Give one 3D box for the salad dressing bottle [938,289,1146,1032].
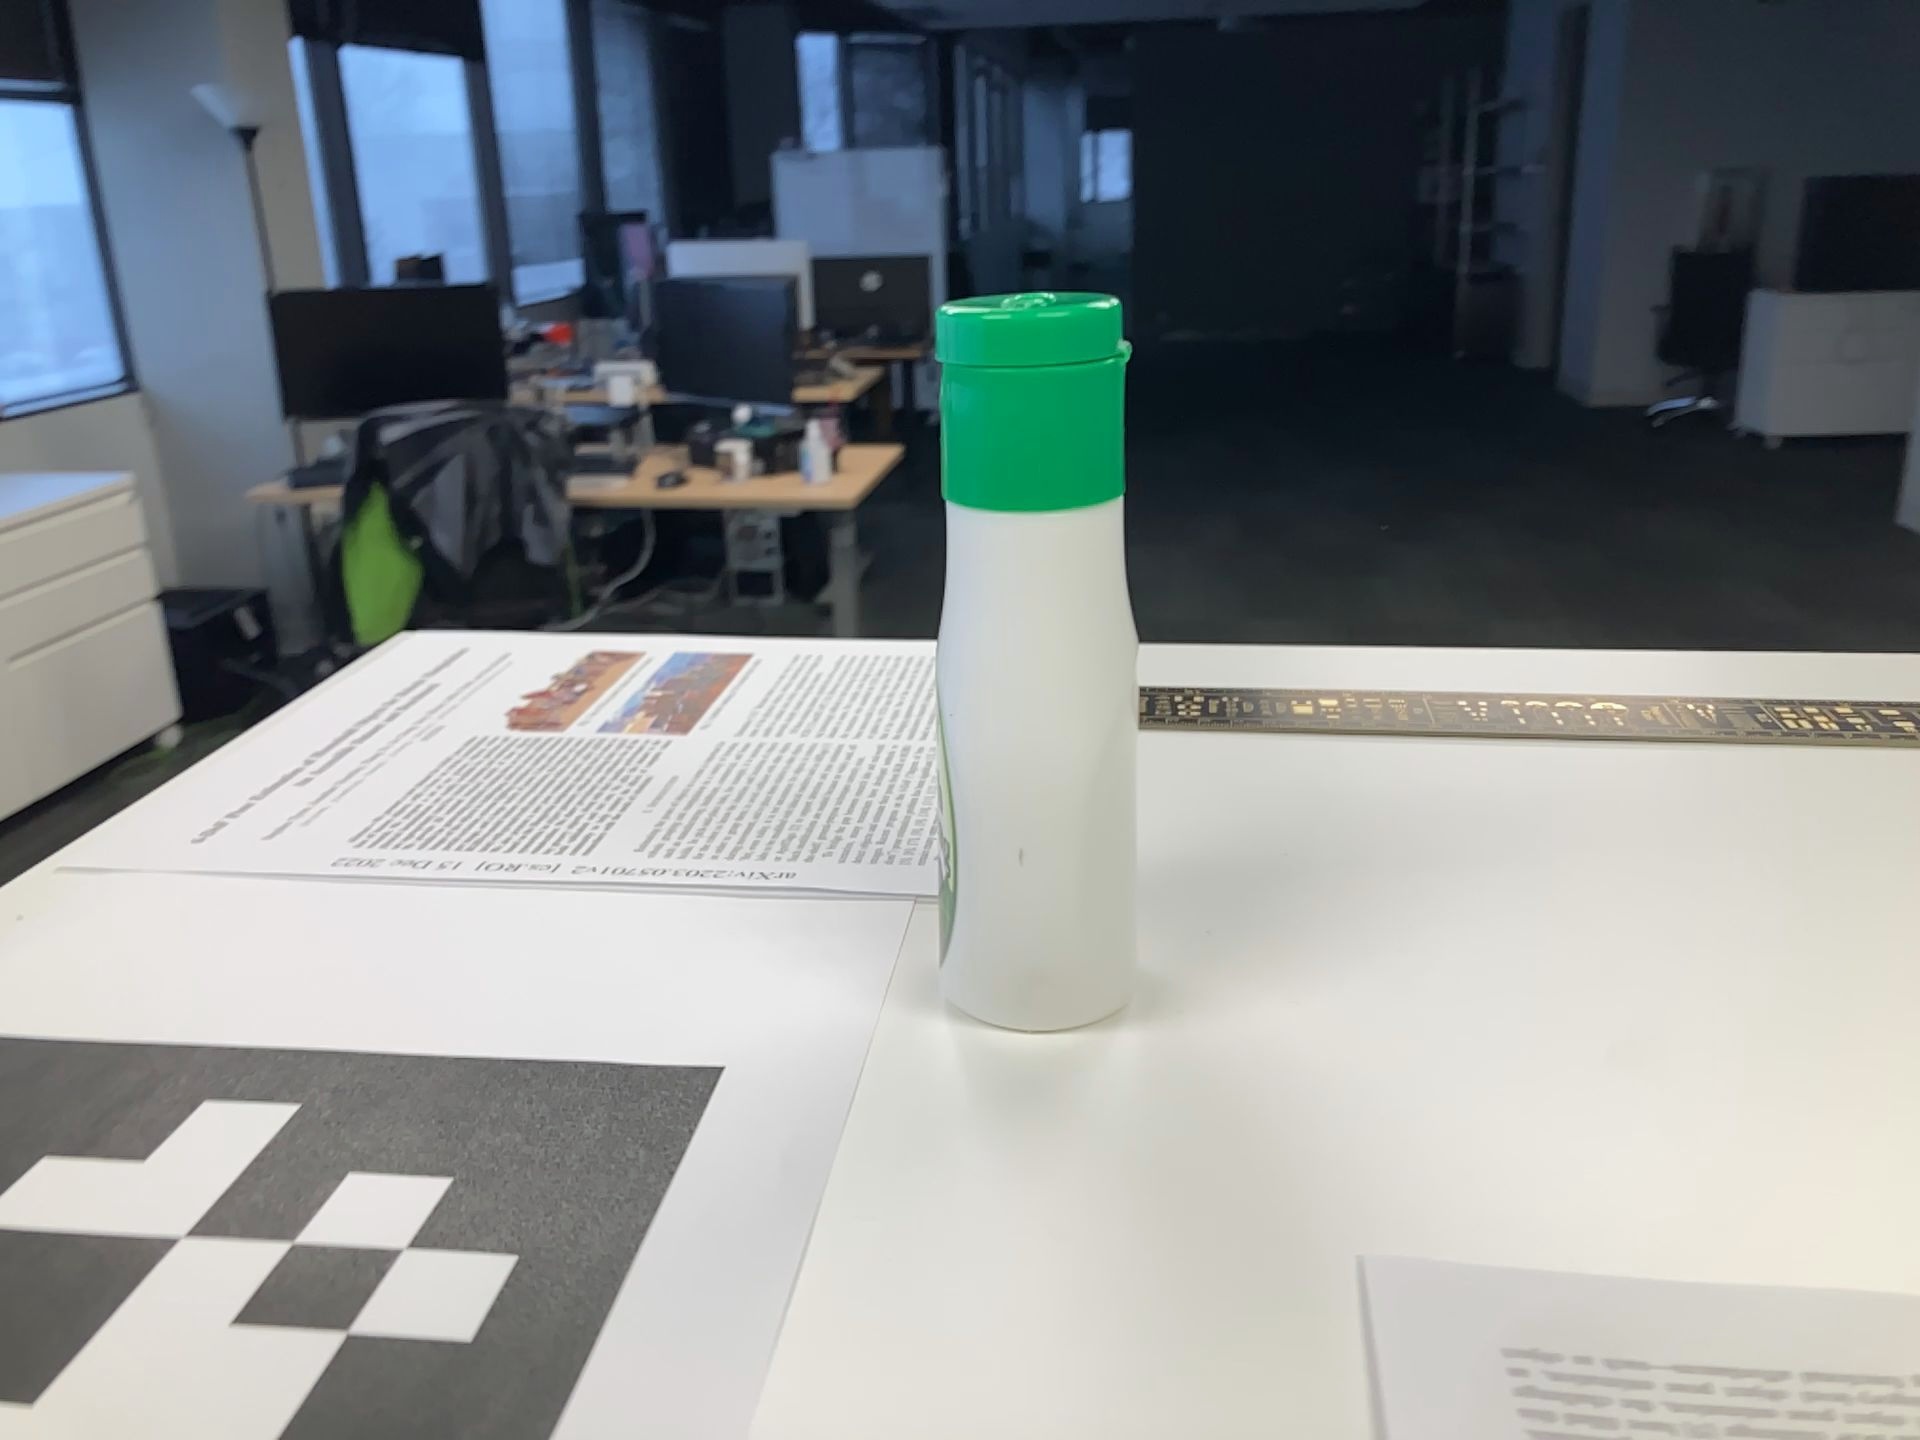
[{"bbox_3d":[0.016,-0.011,0.325,0.044,0.147,0.064,1,18,8],"label":"salad dressing bottle"}]
